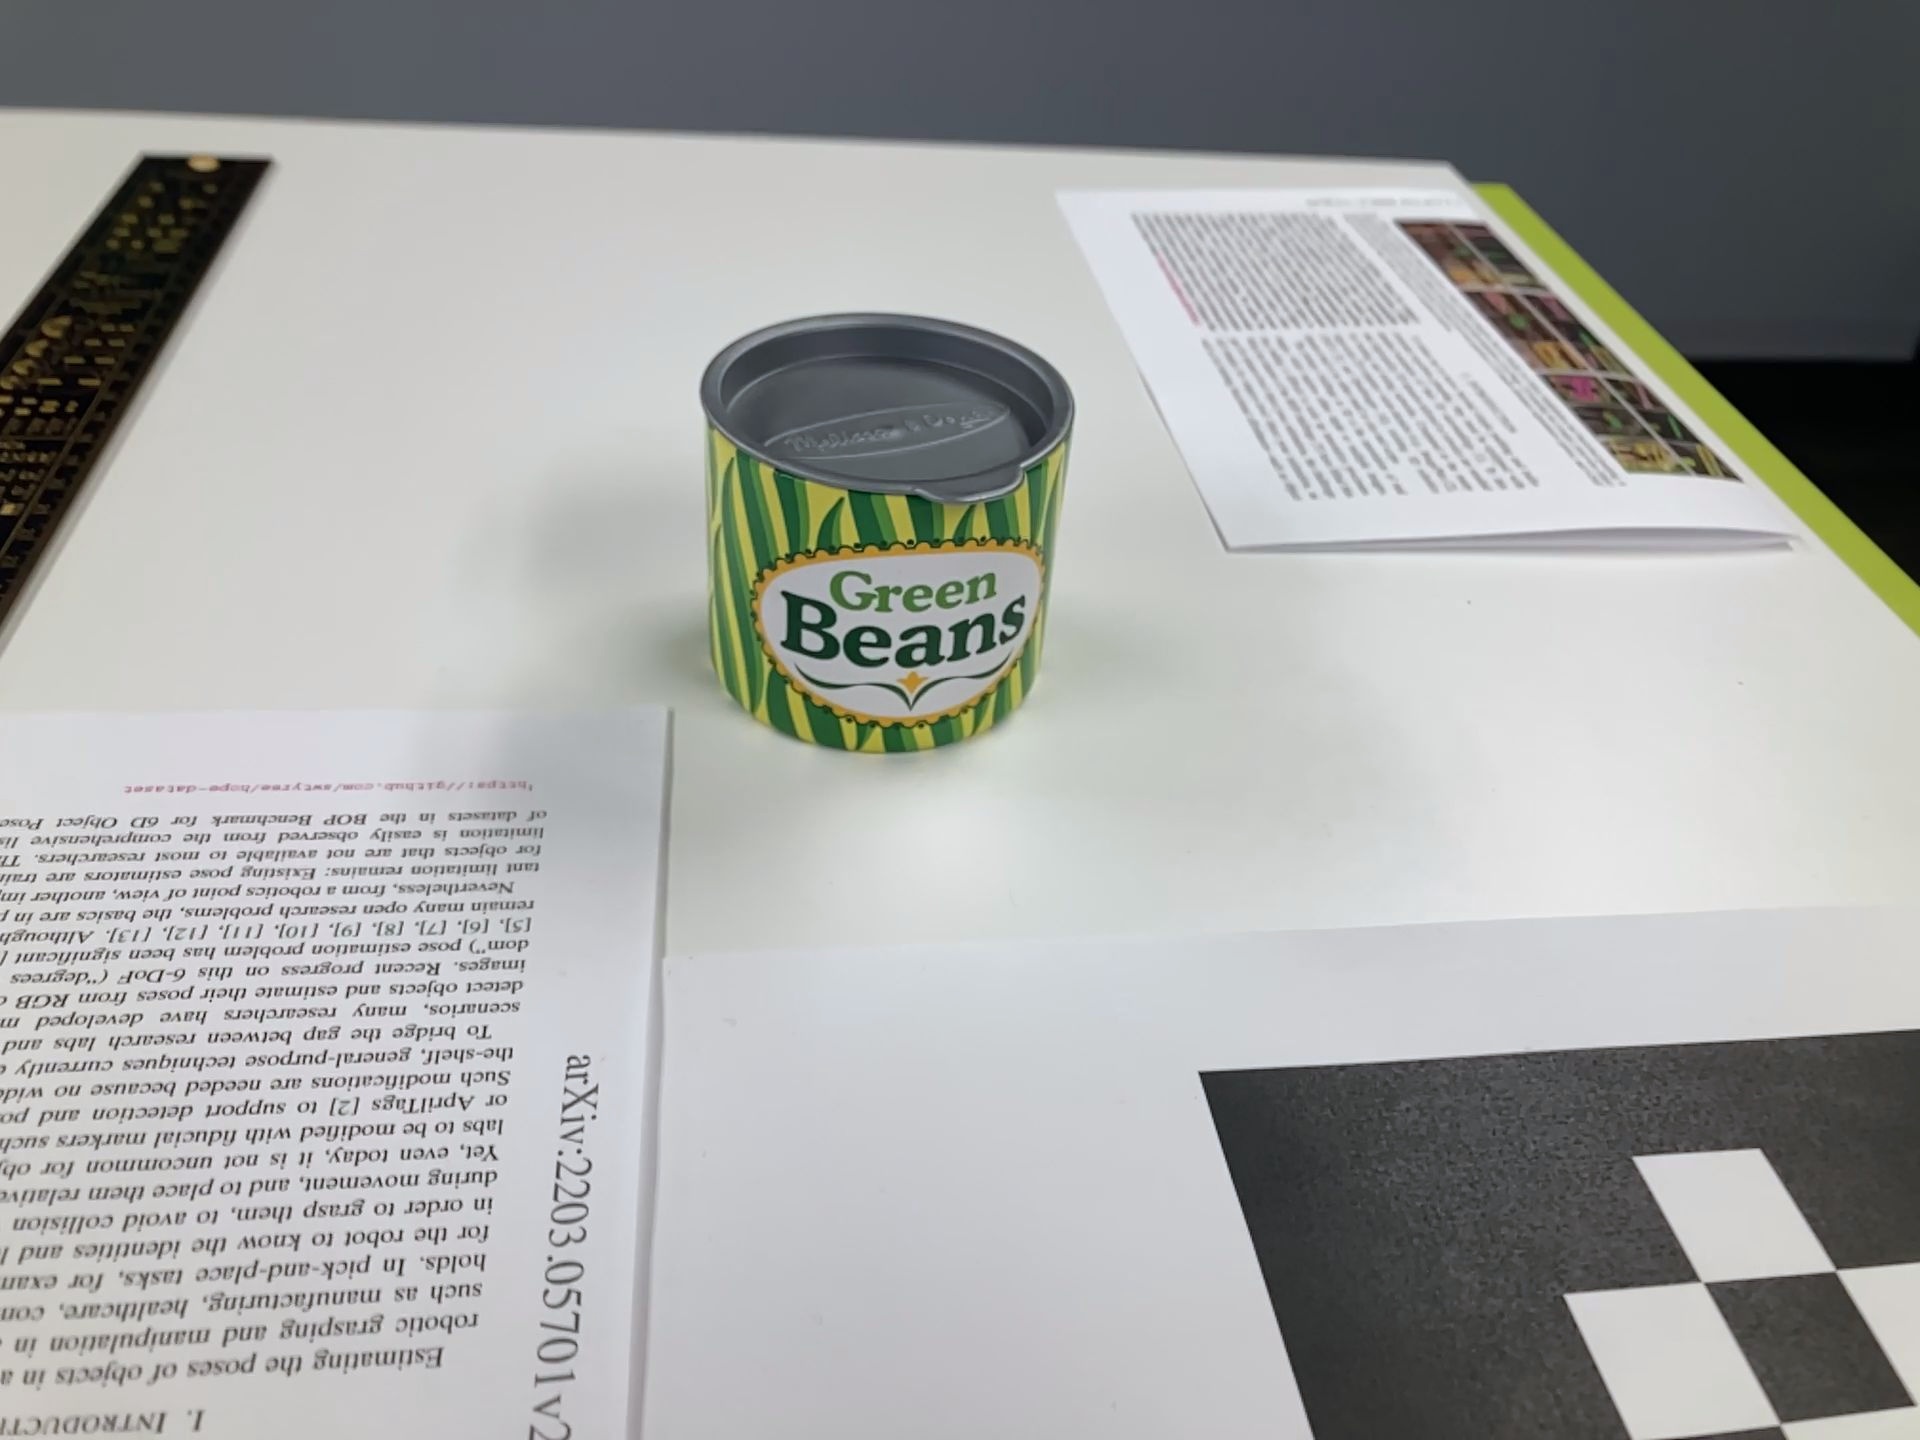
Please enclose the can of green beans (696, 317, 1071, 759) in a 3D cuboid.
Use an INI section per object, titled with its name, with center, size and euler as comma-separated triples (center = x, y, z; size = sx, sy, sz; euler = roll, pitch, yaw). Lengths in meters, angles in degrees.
[can of green beans]
center = -0.015, -0.035, 0.300
size = 0.071, 0.058, 0.071
euler = 3, 38, -2
